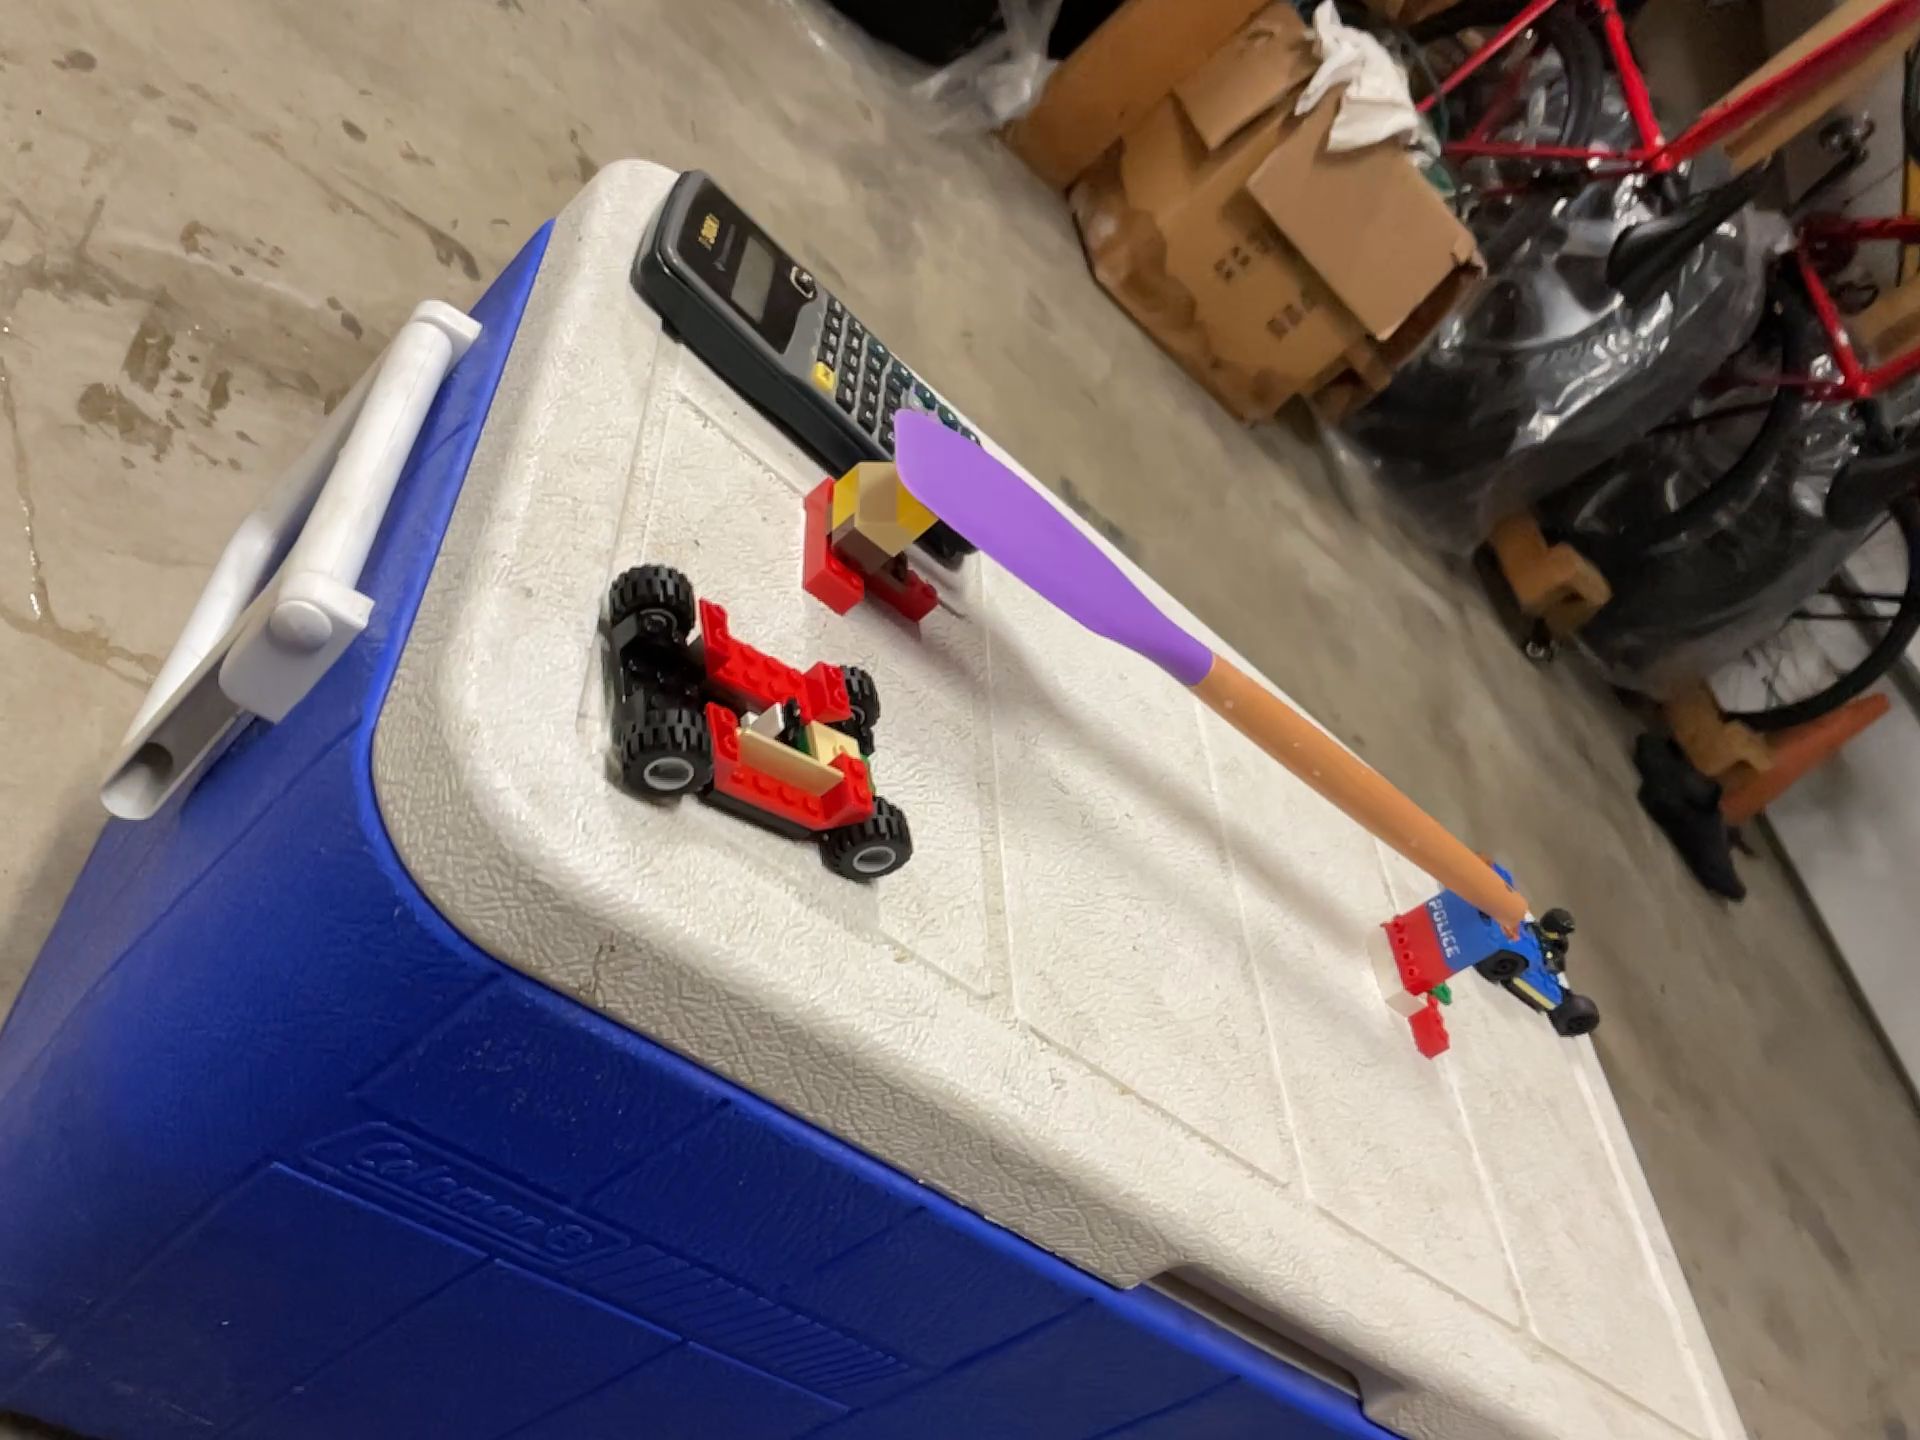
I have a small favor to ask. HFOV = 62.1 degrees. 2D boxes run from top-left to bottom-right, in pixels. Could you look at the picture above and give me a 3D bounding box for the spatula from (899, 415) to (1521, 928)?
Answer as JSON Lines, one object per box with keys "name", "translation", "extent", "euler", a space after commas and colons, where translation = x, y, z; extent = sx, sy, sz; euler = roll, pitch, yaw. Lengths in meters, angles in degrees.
{"name": "spatula", "translation": [0.097, -0.004, 0.539], "extent": [0.316, 0.018, 0.060], "euler": [35, 33, -29]}
